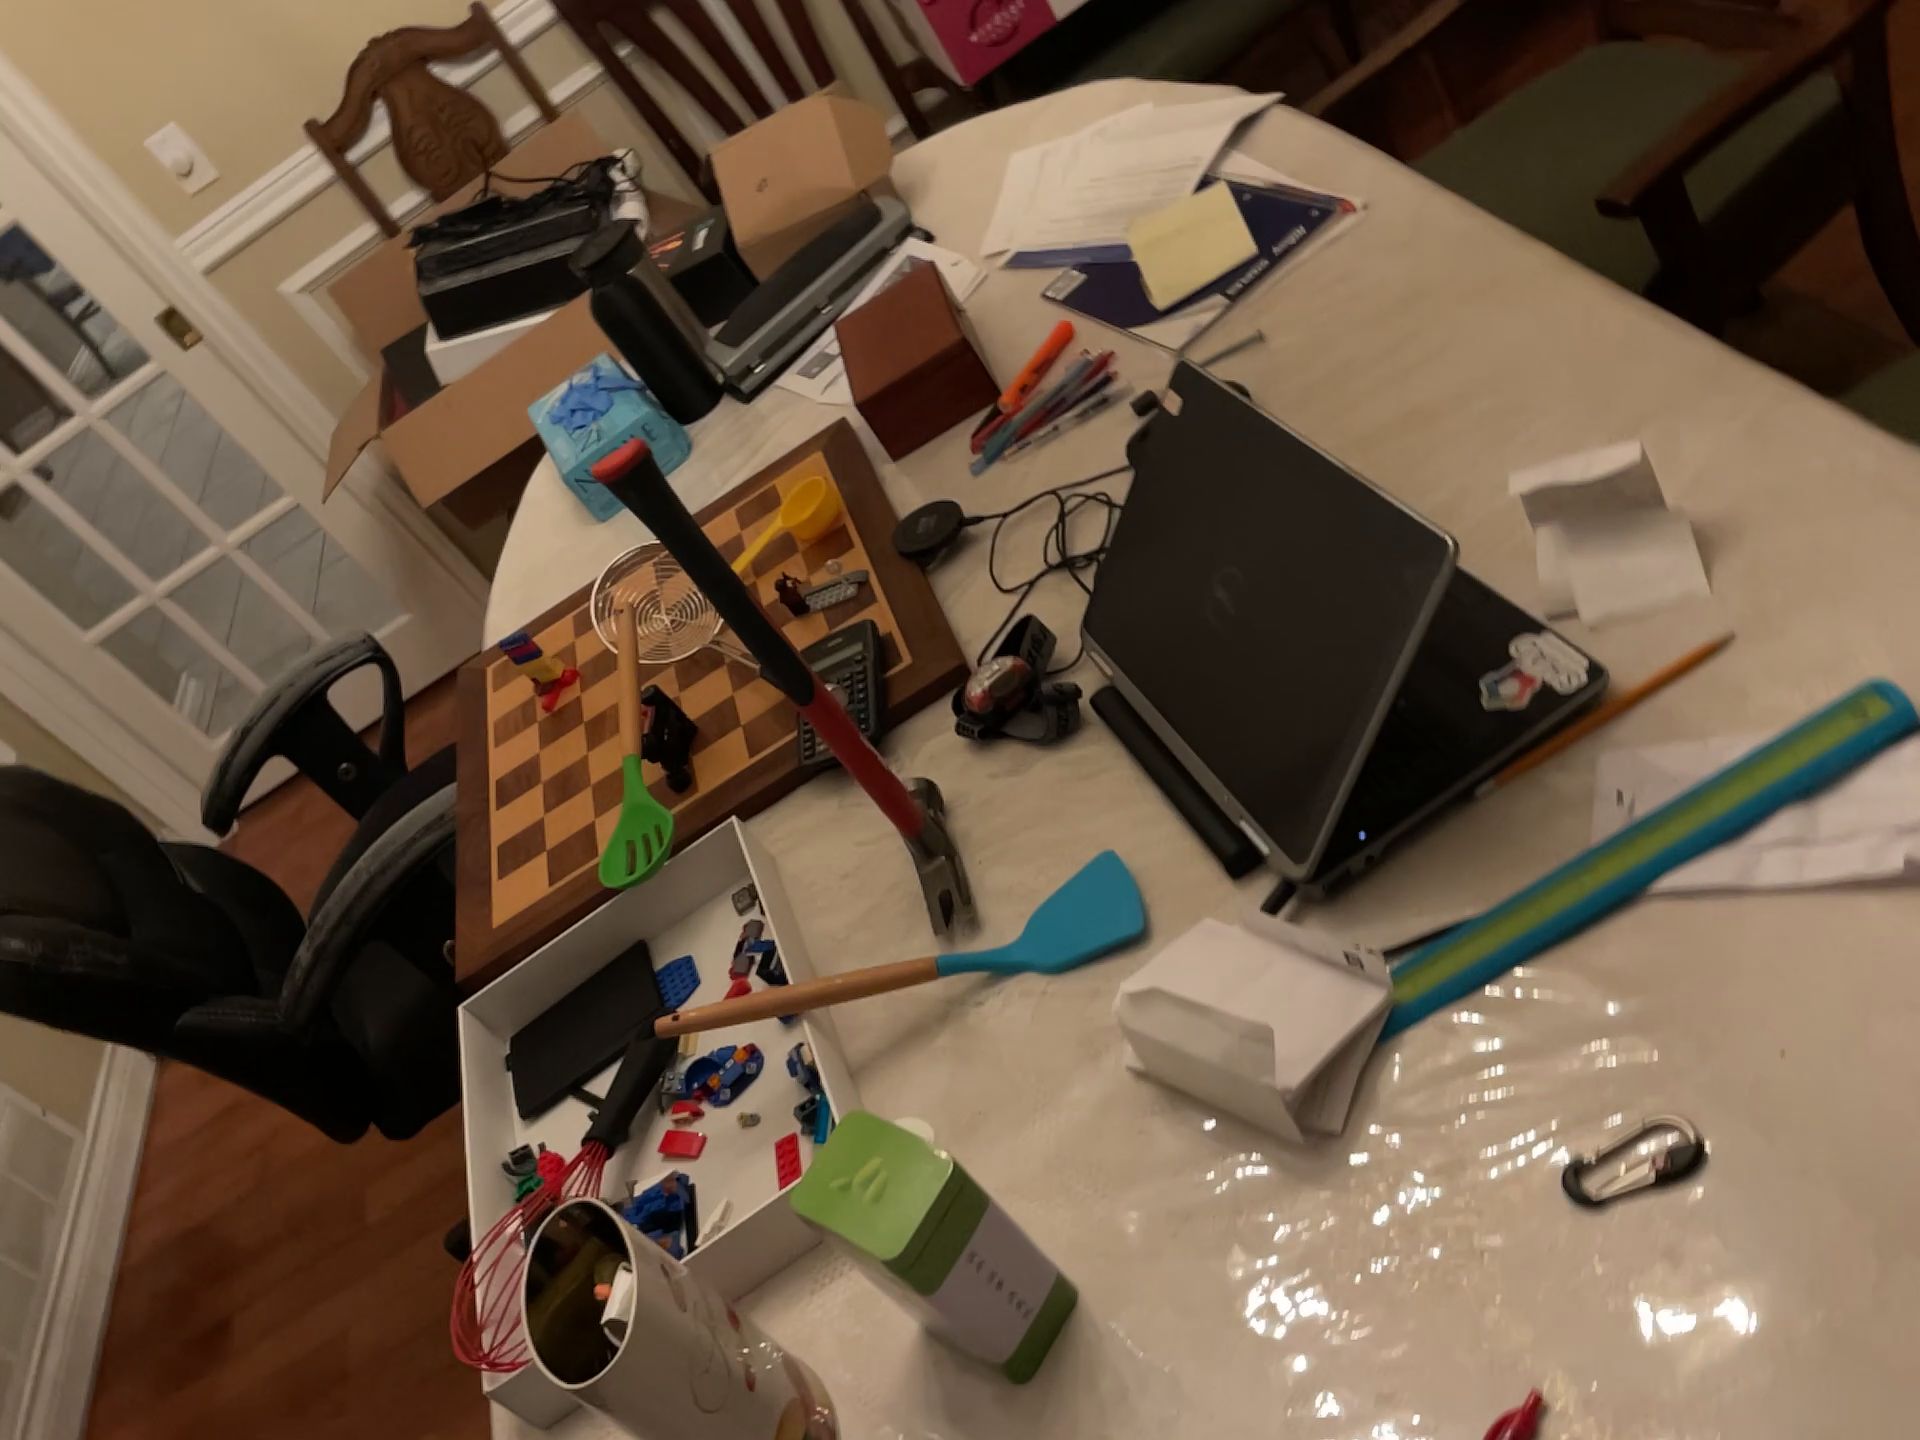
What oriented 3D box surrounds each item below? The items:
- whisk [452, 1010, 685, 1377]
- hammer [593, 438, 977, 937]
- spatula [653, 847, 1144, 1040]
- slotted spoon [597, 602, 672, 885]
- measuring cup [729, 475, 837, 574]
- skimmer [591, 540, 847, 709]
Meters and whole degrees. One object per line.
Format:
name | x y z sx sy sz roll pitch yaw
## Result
whisk | -0.243 0.295 1.037 0.073 0.073 0.296 1 33 16
hammer | -0.102 -0.018 1.014 0.038 0.385 0.143 -31 36 8
spatula | -0.042 0.156 1.016 0.317 0.044 0.082 -13 39 -3
slotted spoon | -0.267 0.012 1.295 0.070 0.031 0.314 -28 46 15
measuring cup | -0.178 -0.169 1.517 0.156 0.029 0.062 -43 38 13
skimmer | -0.208 -0.077 1.367 0.127 0.090 0.364 -45 33 -14
